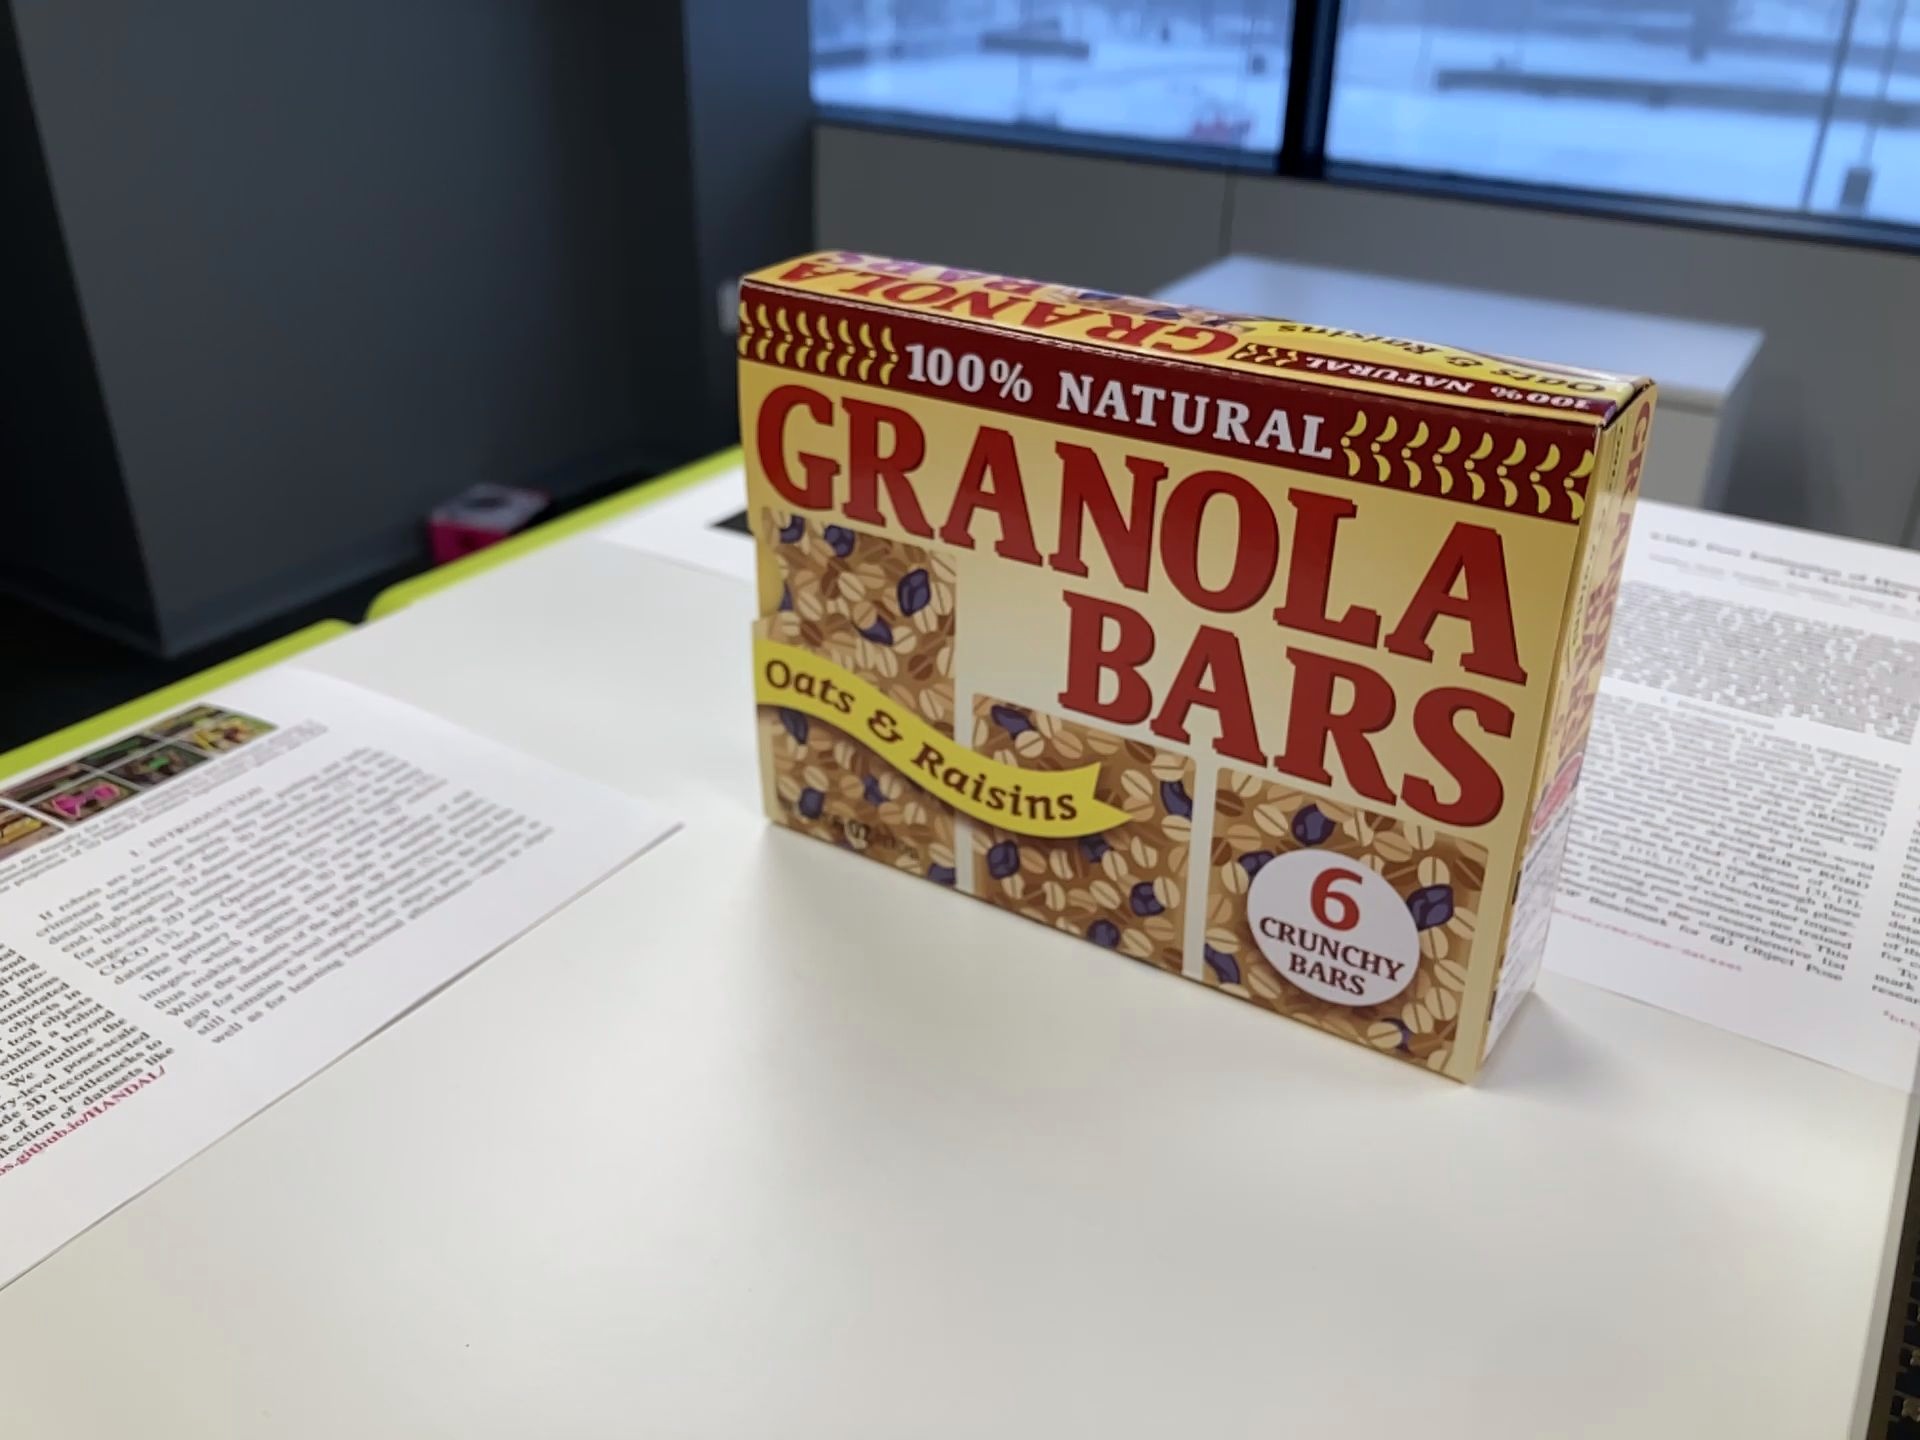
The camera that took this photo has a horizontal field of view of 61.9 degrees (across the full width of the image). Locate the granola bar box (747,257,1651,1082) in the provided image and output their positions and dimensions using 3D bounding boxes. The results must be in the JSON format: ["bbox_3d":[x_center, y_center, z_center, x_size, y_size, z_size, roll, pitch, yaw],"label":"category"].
[{"bbox_3d":[0.033,-0.016,0.314,0.165,0.124,0.039,17,30,28],"label":"granola bar box"}]
